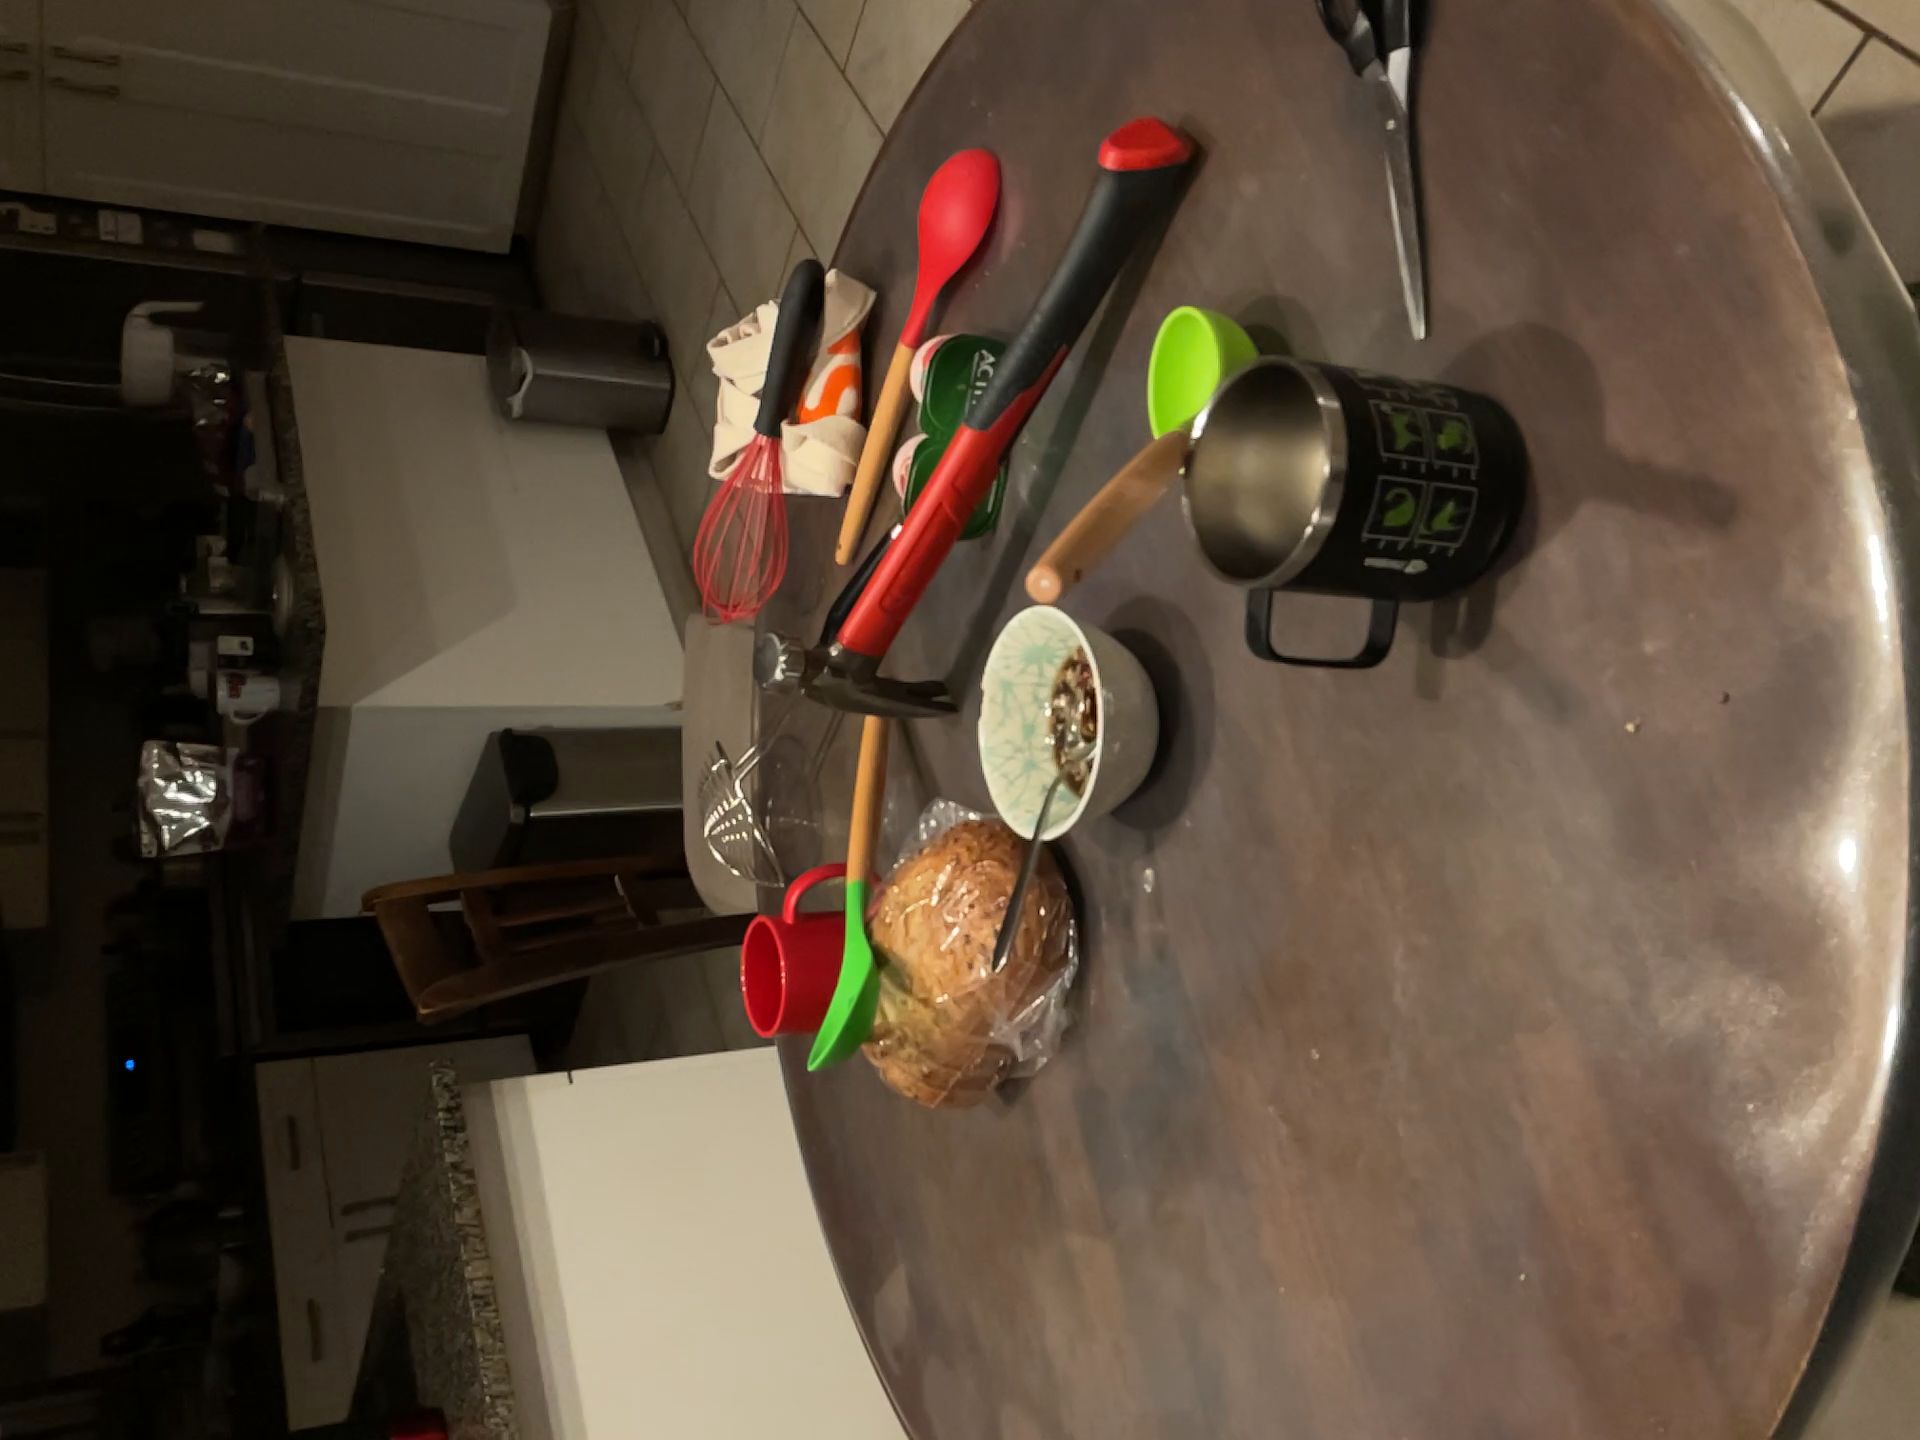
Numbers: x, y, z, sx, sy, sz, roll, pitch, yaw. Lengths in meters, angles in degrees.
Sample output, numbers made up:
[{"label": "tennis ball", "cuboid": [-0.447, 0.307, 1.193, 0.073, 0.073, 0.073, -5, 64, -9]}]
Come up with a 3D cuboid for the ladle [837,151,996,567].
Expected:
[{"label": "ladle", "cuboid": [-0.040, -0.232, 1.070, 0.069, 0.031, 0.315, 63, 143, 41]}]

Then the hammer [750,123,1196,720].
[{"label": "hammer", "cuboid": [0.025, -0.152, 0.902, 0.386, 0.143, 0.038, -56, 44, 29]}]

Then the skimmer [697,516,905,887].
[{"label": "skimmer", "cuboid": [-0.101, -0.011, 1.177, 0.363, 0.090, 0.127, -52, 53, 34]}]

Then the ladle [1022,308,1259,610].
[{"label": "ladle", "cuboid": [0.070, -0.105, 0.642, 0.062, 0.320, 0.078, 10, 117, 18]}]

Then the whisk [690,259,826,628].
[{"label": "whisk", "cuboid": [-0.144, -0.194, 1.156, 0.073, 0.073, 0.295, 58, 138, 46]}]

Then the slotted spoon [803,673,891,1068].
[{"label": "slotted spoon", "cuboid": [-0.062, 0.083, 1.001, 0.070, 0.031, 0.314, -53, 23, 41]}]
